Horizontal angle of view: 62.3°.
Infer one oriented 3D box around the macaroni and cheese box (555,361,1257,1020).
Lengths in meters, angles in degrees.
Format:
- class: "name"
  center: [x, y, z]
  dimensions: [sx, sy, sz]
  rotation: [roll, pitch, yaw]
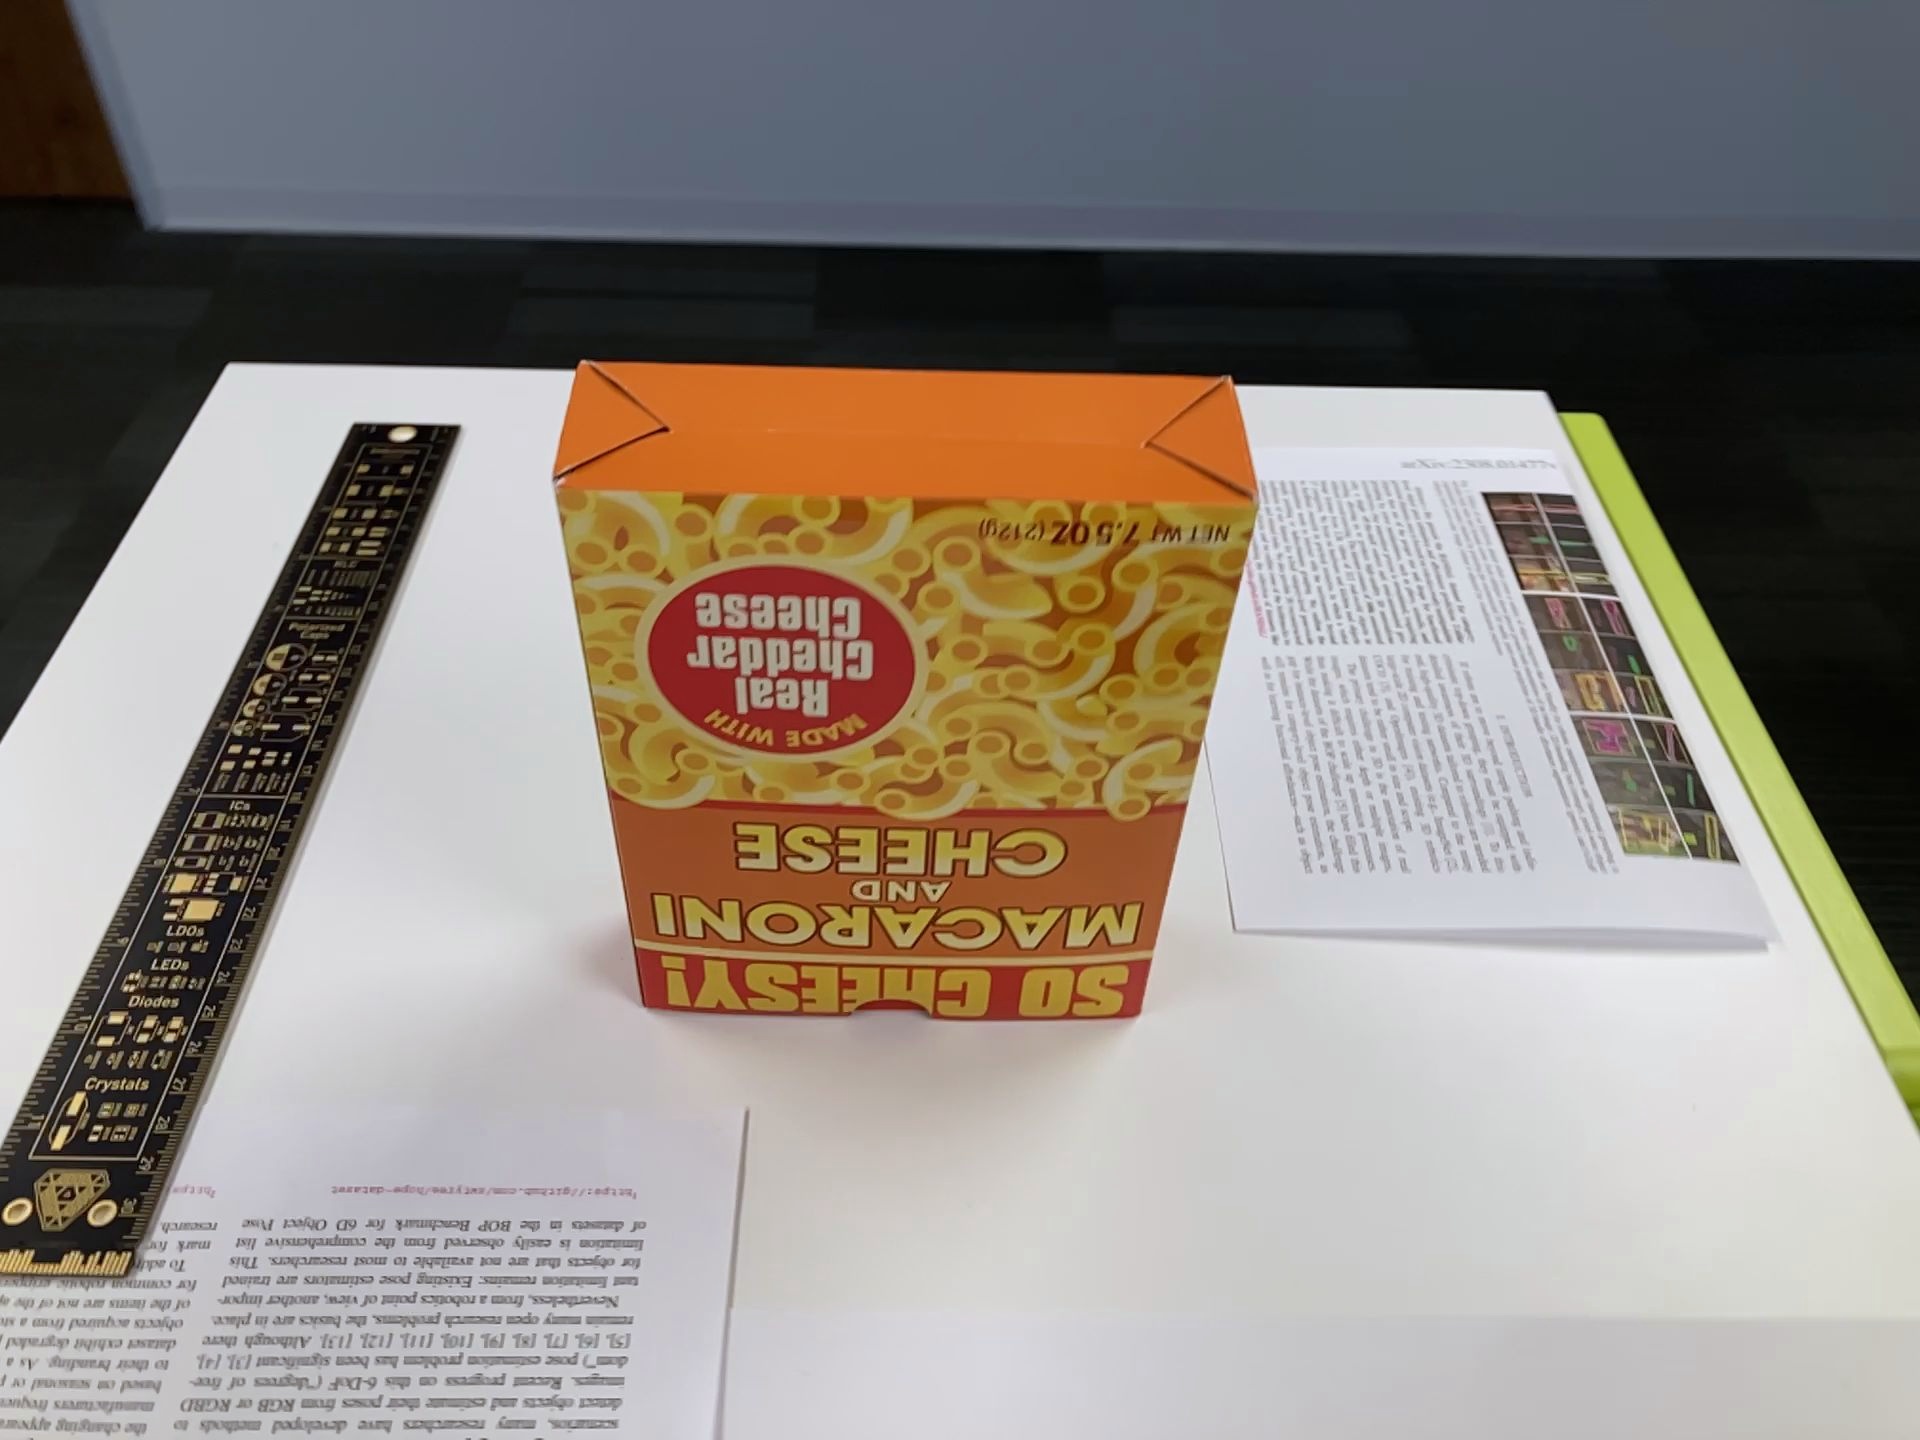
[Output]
- class: "macaroni and cheese box"
  center: [-0.014, 0.005, 0.346]
  dimensions: [0.124, 0.166, 0.040]
  rotation: [2, 47, -2]
